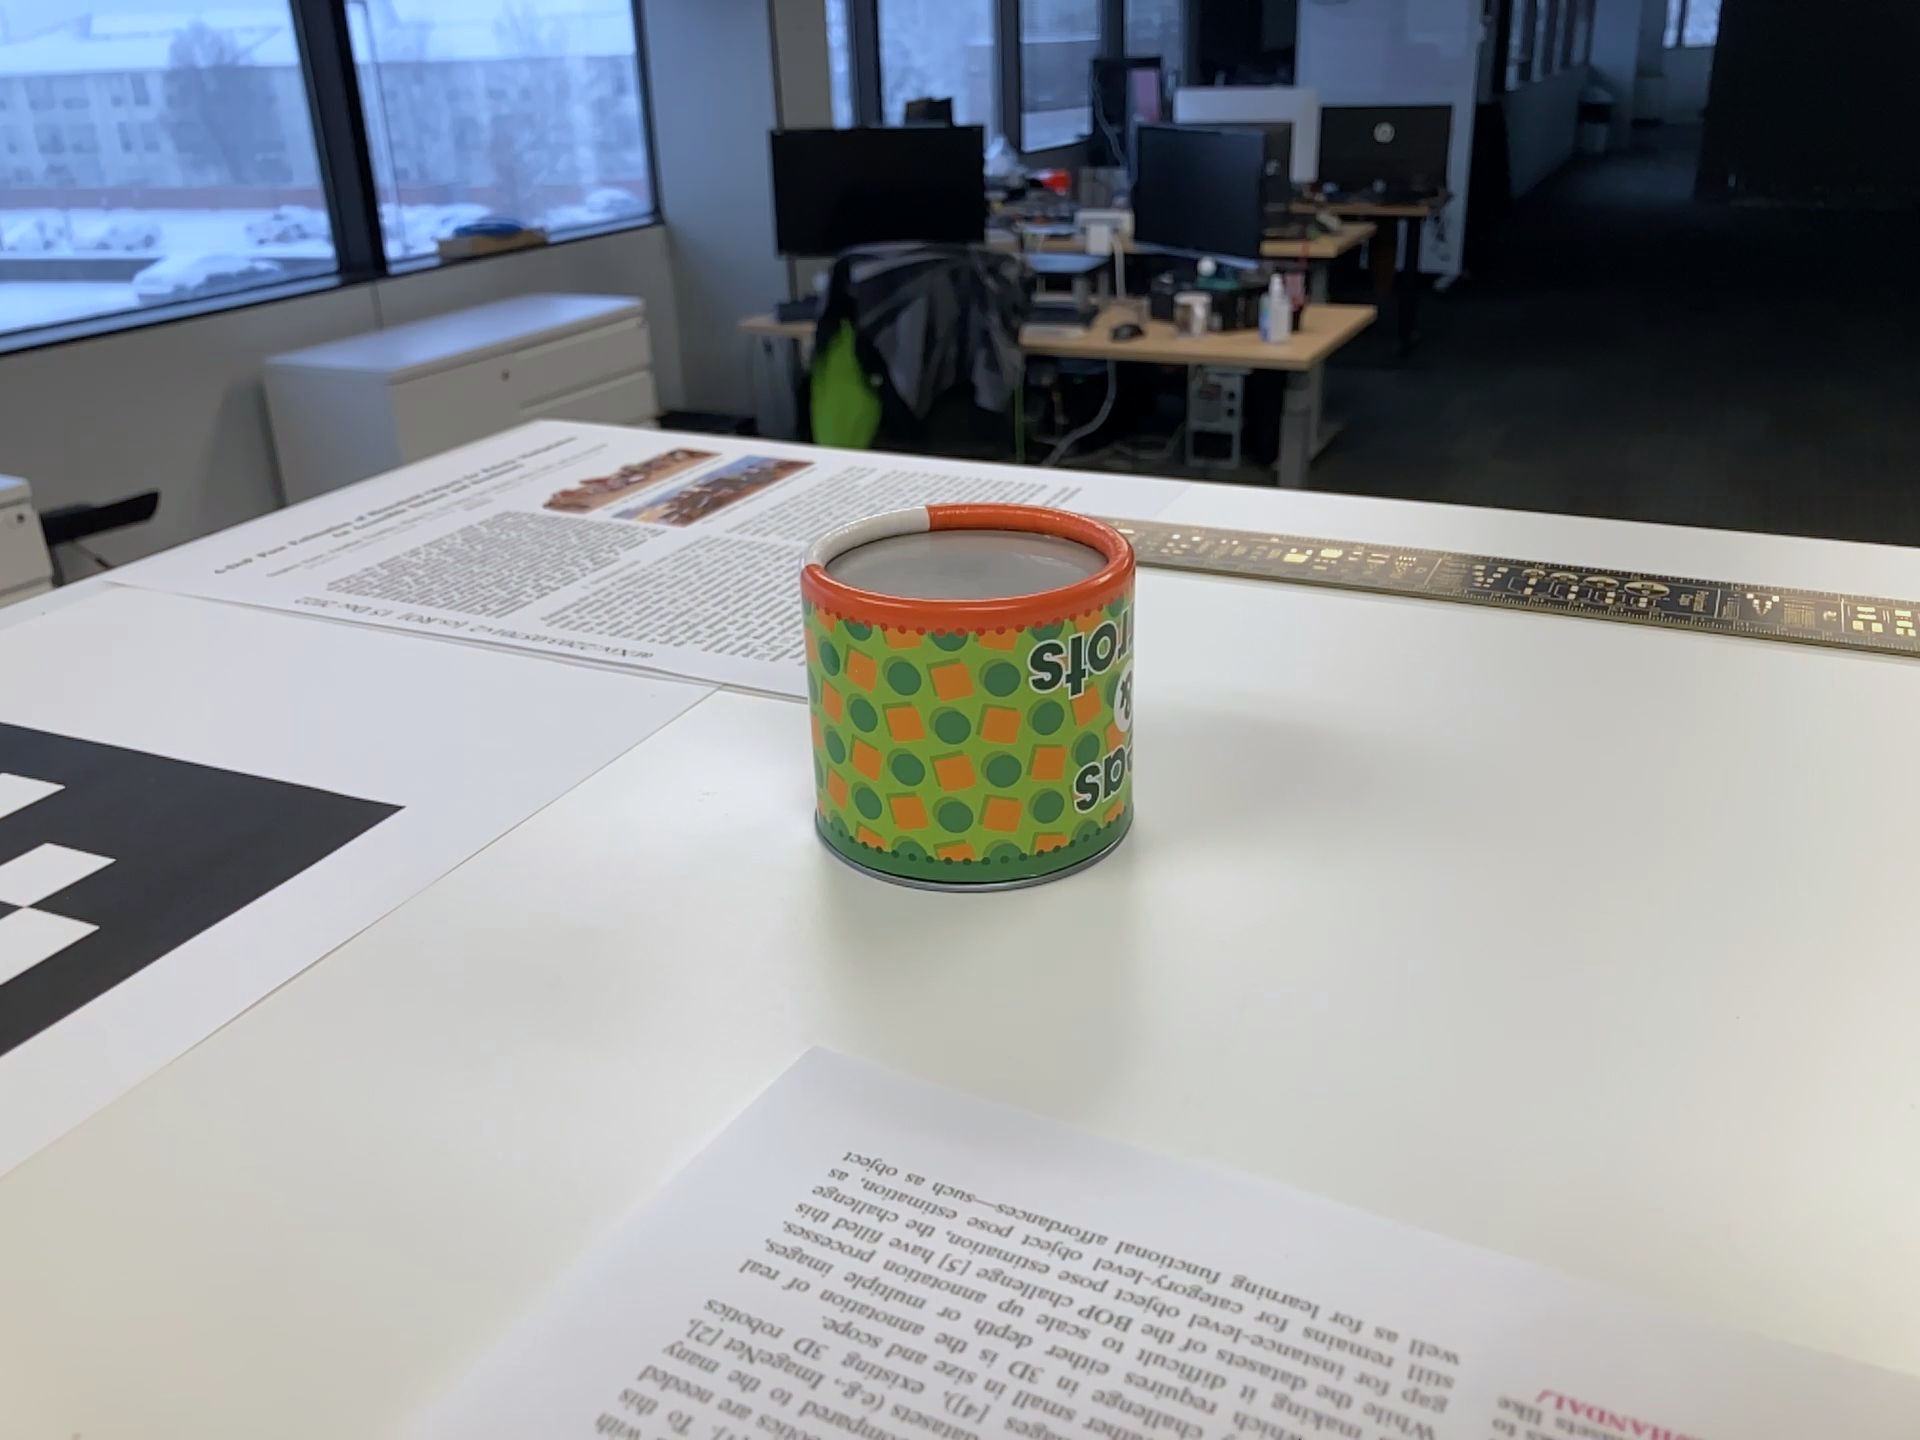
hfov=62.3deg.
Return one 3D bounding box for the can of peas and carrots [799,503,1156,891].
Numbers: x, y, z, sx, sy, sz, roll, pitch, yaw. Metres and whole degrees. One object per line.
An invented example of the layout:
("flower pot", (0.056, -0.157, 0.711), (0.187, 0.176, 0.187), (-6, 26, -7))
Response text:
("can of peas and carrots", (0.004, -0.007, 0.320), (0.071, 0.059, 0.071), (-2, 24, 1))
